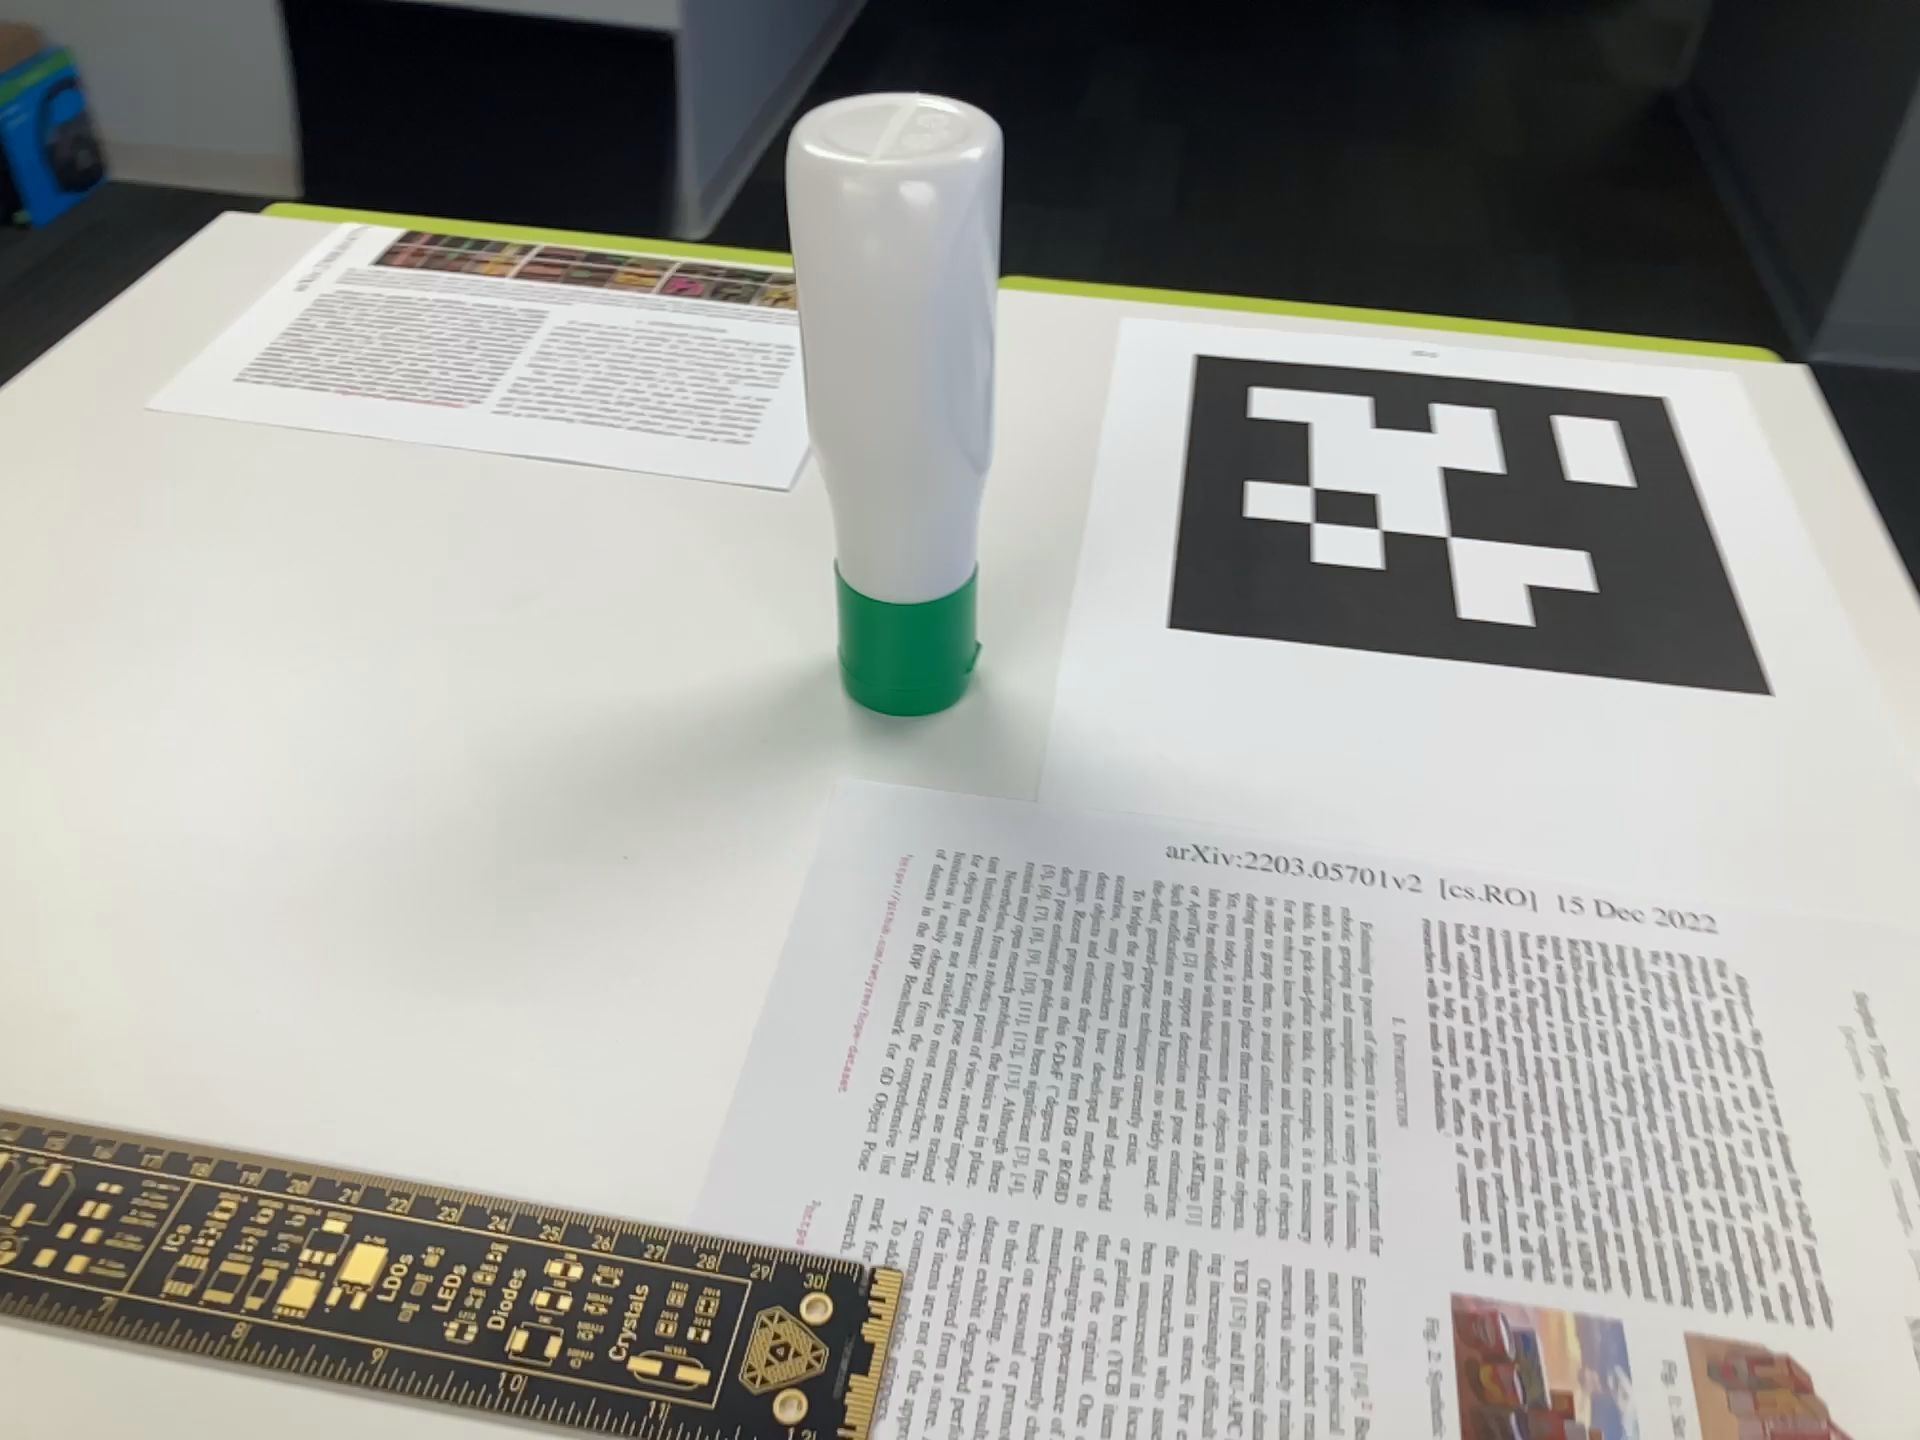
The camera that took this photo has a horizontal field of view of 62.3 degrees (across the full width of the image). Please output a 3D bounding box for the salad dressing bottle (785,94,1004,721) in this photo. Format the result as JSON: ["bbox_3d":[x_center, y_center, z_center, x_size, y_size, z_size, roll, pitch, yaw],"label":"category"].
[{"bbox_3d":[-0.014,-0.066,0.374,0.044,0.147,0.064,8,41,9],"label":"salad dressing bottle"}]
